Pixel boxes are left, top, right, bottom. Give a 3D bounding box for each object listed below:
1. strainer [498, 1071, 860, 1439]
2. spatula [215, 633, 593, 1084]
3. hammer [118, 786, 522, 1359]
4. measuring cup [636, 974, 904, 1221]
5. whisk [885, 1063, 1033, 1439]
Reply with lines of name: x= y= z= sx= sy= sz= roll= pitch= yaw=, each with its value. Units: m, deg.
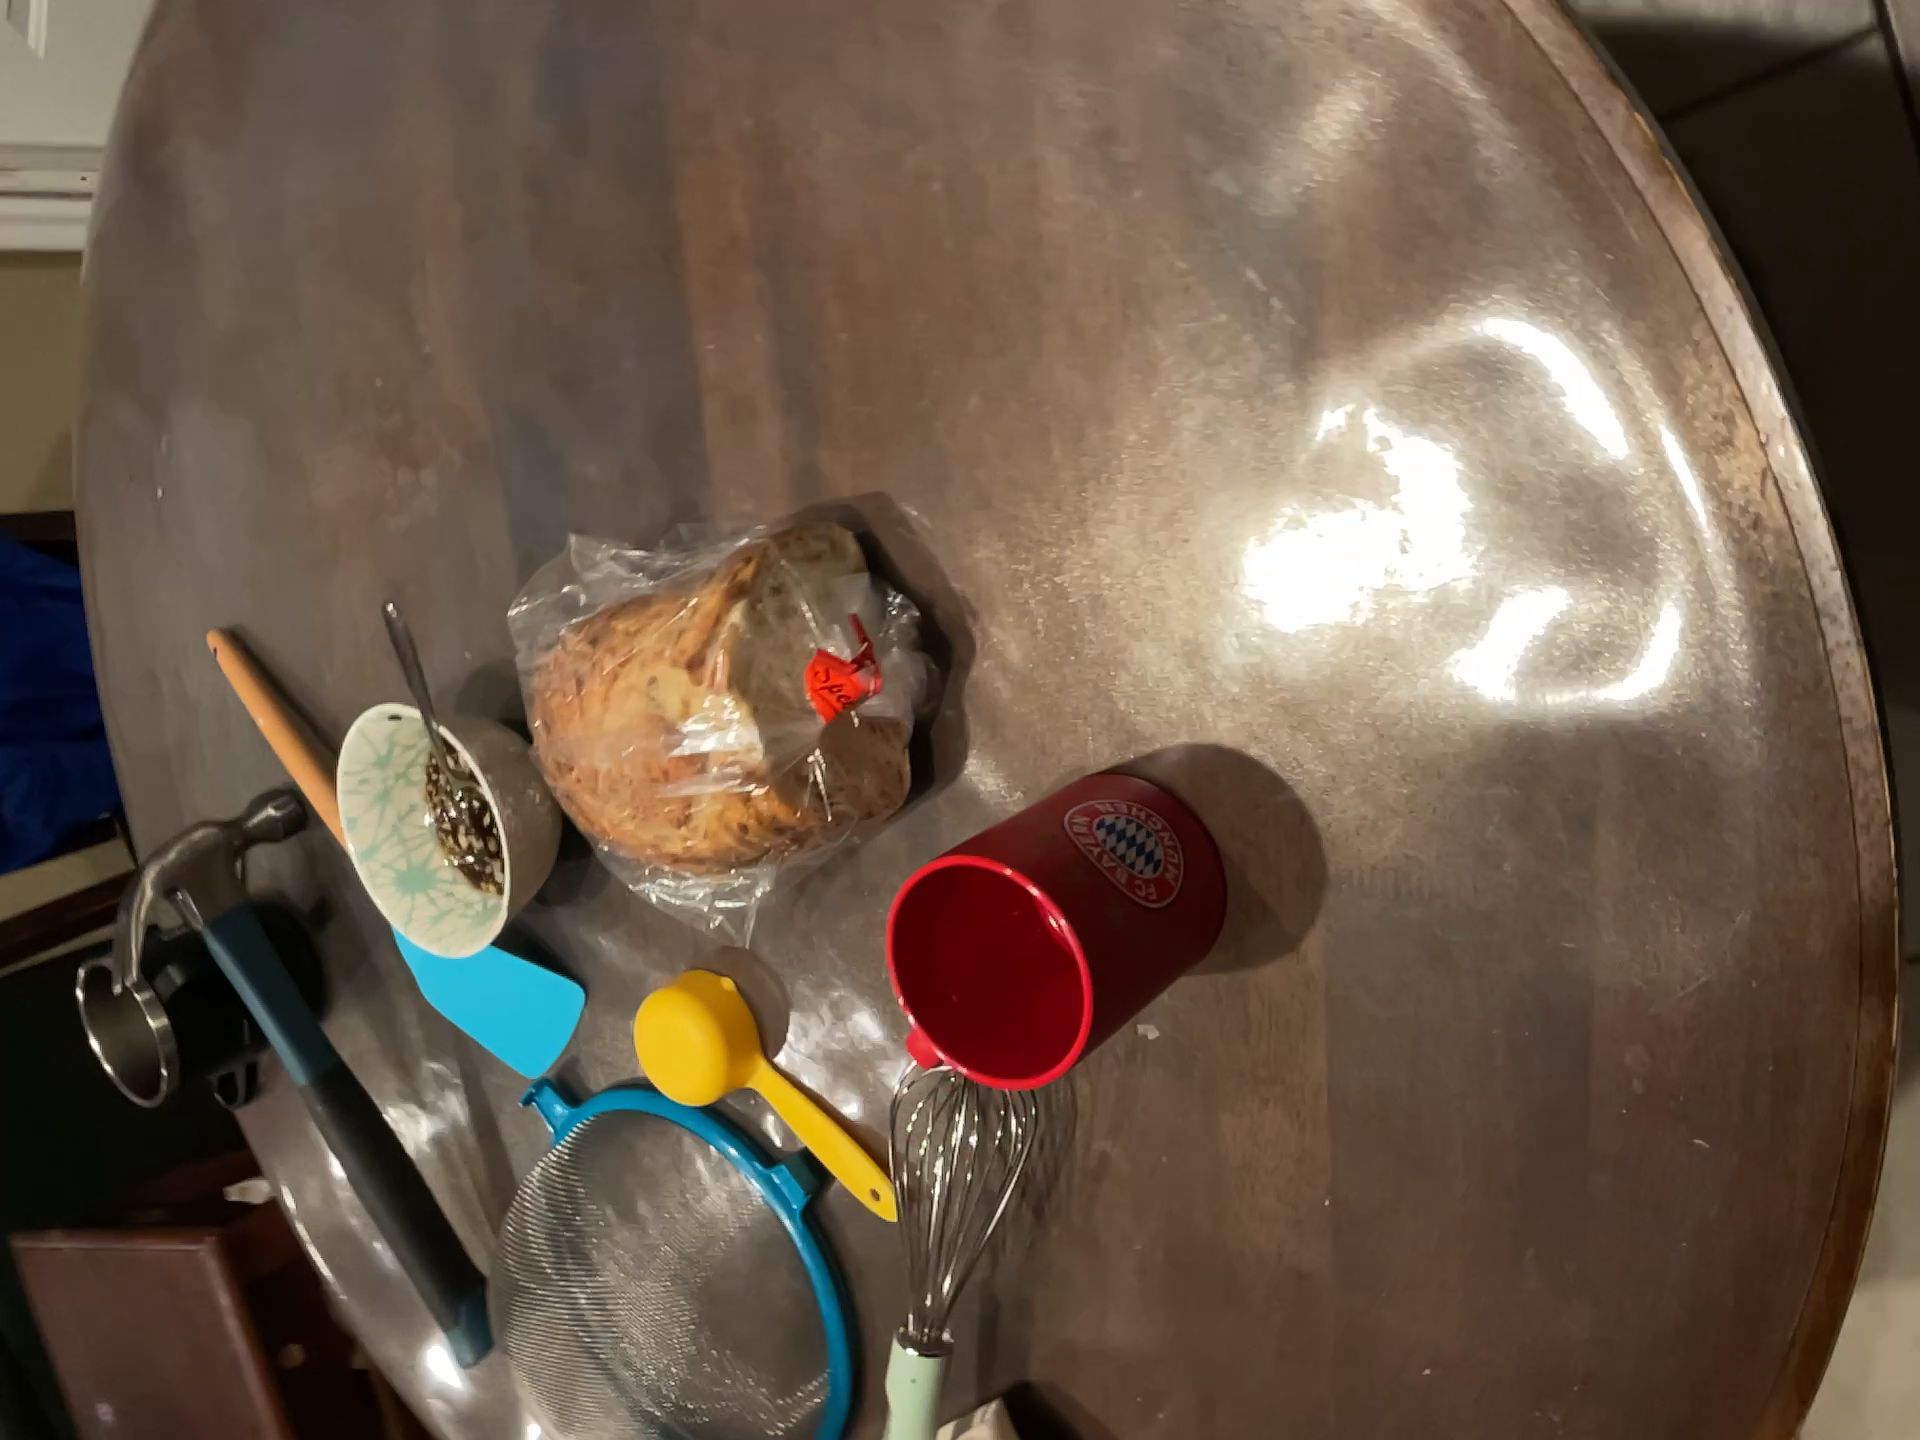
strainer: x=-0.154 y=0.353 z=0.786 sx=0.211 sy=0.095 sz=0.340 roll=6 pitch=103 yaw=36
spatula: x=-0.312 y=0.062 z=0.861 sx=0.317 sy=0.044 sz=0.082 roll=48 pitch=127 yaw=20
hammer: x=-0.342 y=0.204 z=0.886 sx=0.033 sy=0.128 sz=0.331 roll=-26 pitch=97 yaw=42
measuring cup: x=-0.089 y=0.176 z=0.722 sx=0.156 sy=0.029 sz=0.062 roll=37 pitch=123 yaw=24
whisk: x=-0.013 y=0.248 z=0.658 sx=0.059 sy=0.058 sz=0.246 roll=9 pitch=102 yaw=2
